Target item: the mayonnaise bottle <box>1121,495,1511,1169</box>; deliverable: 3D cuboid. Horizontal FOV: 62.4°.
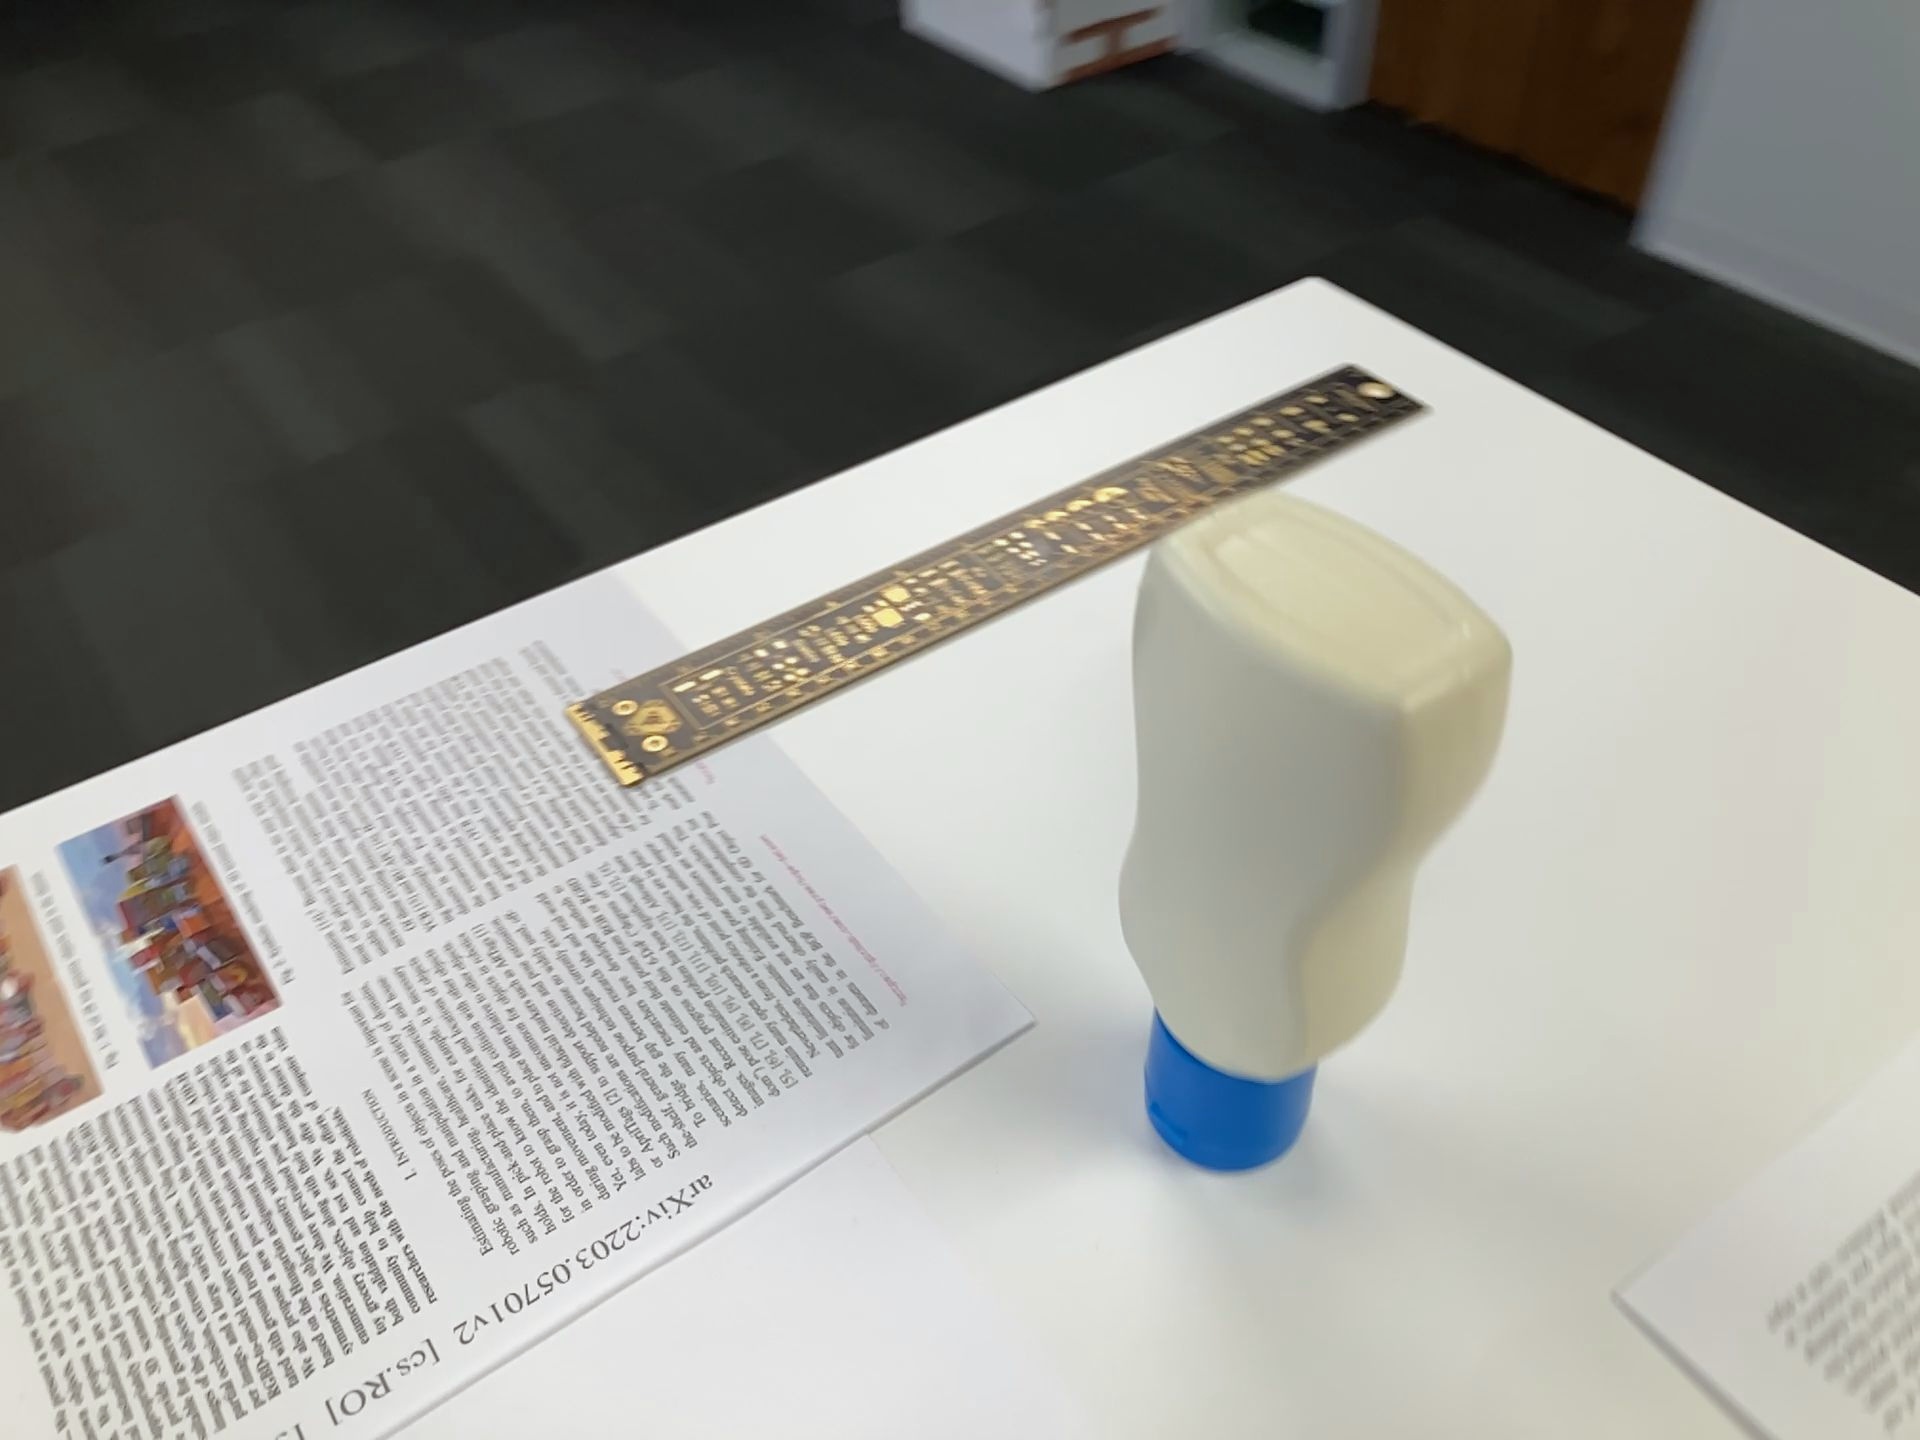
[{"bbox_3d":[0.060,0.032,0.309,0.041,0.148,0.065,-27,50,-26],"label":"mayonnaise bottle"}]
